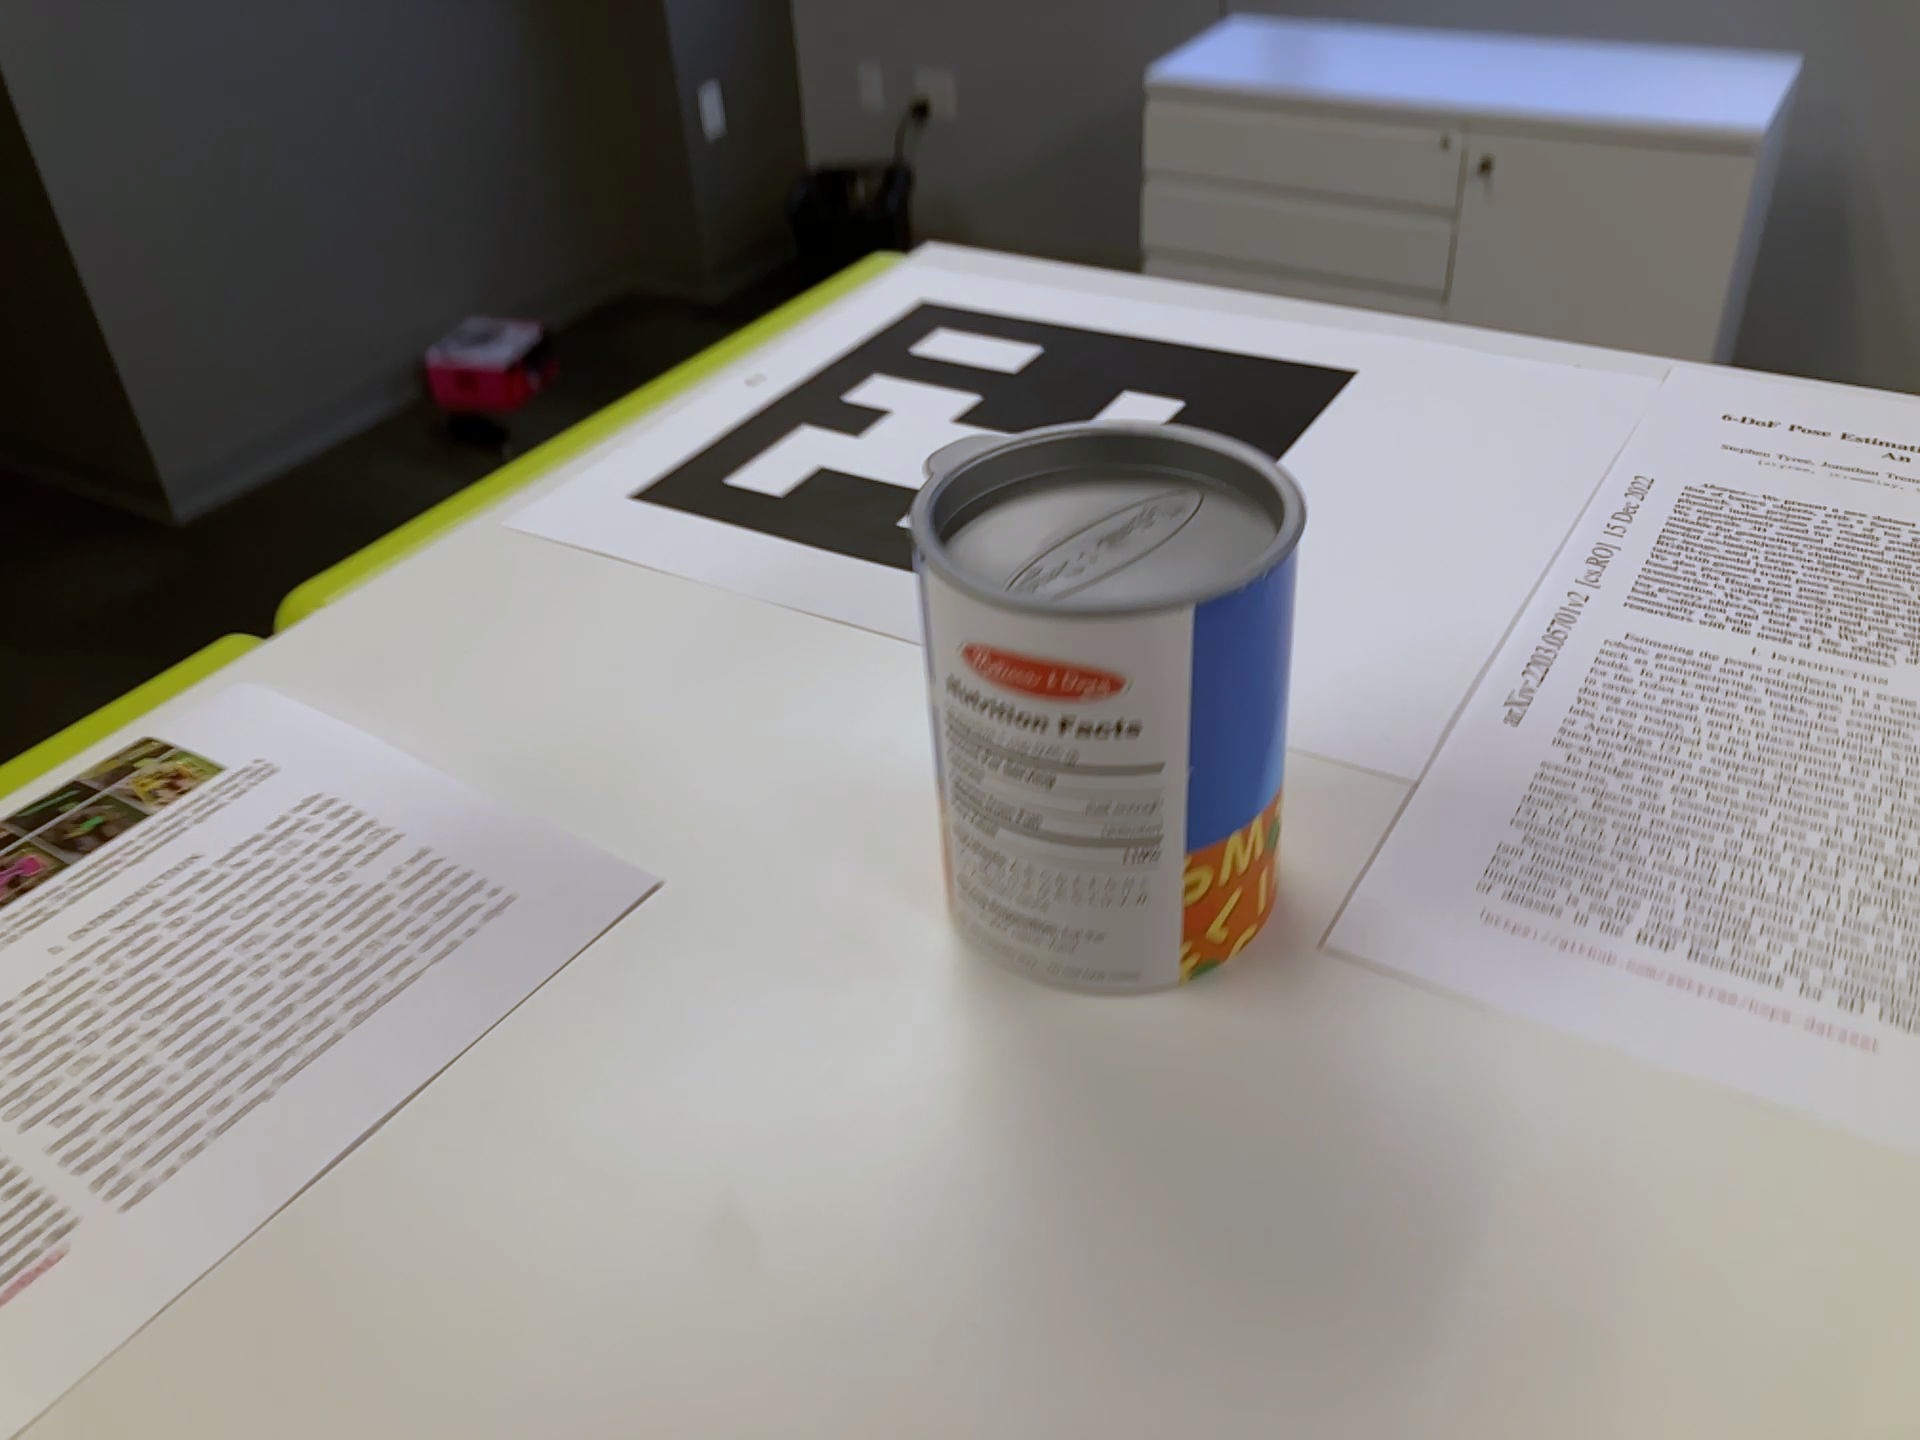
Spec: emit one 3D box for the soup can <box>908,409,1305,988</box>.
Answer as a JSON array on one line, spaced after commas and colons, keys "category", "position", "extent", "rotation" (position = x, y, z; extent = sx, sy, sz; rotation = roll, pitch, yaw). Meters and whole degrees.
[{"category": "soup can", "position": [0.028, -0.004, 0.293], "extent": [0.071, 0.084, 0.071], "rotation": [-3, 36, 2]}]
